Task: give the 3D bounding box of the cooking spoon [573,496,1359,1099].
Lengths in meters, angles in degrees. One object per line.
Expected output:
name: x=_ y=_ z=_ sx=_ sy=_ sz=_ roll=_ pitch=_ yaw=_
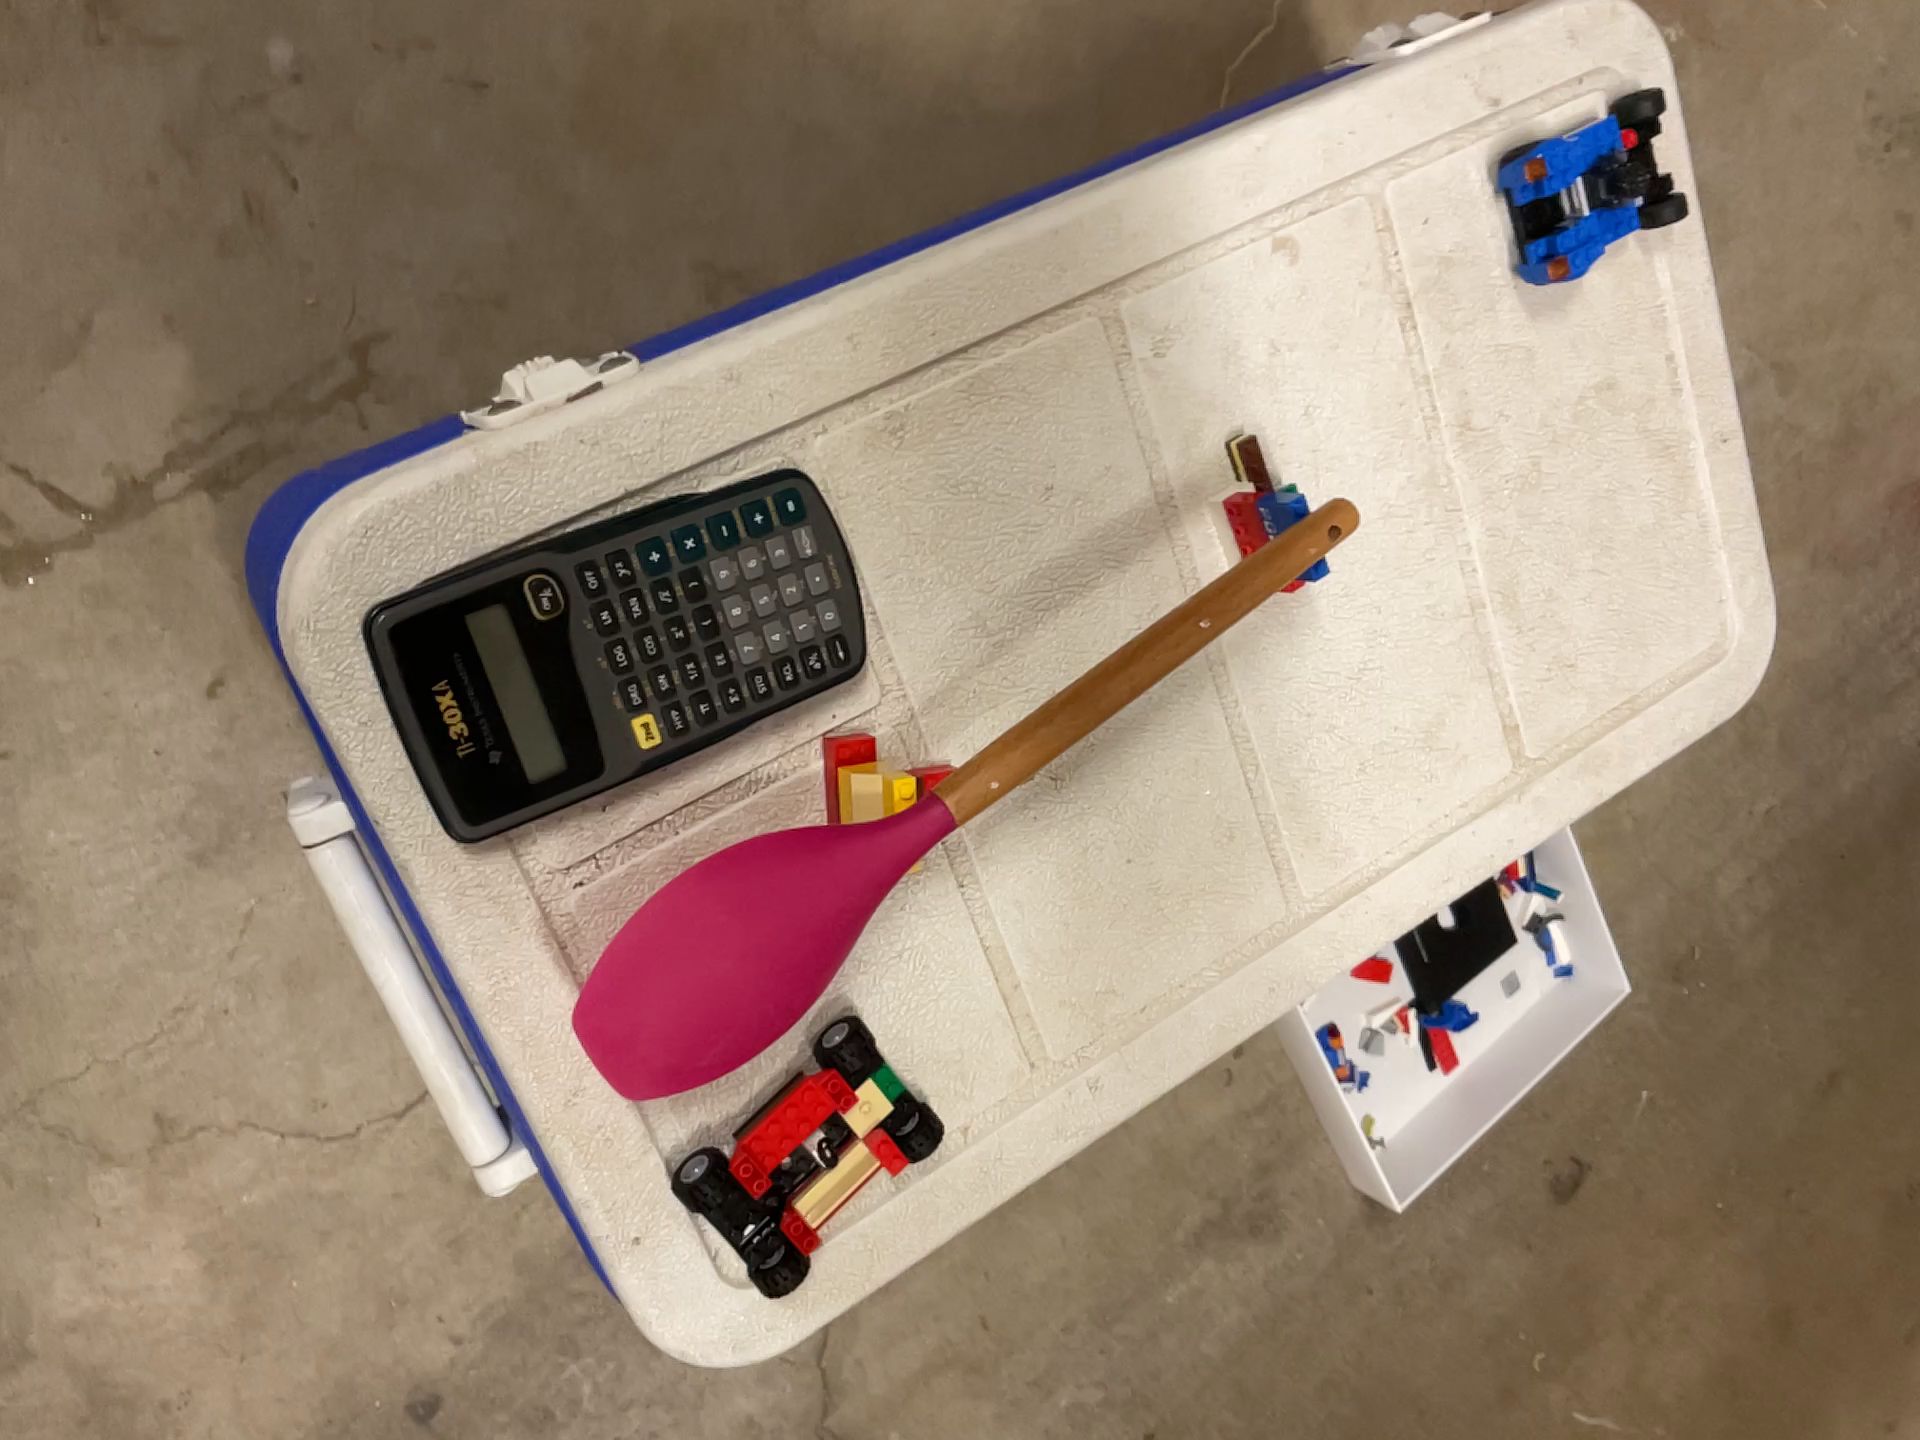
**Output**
cooking spoon: x=0.014 y=0.014 z=0.527 sx=0.319 sy=0.017 sz=0.068 roll=-36 pitch=117 yaw=-16
